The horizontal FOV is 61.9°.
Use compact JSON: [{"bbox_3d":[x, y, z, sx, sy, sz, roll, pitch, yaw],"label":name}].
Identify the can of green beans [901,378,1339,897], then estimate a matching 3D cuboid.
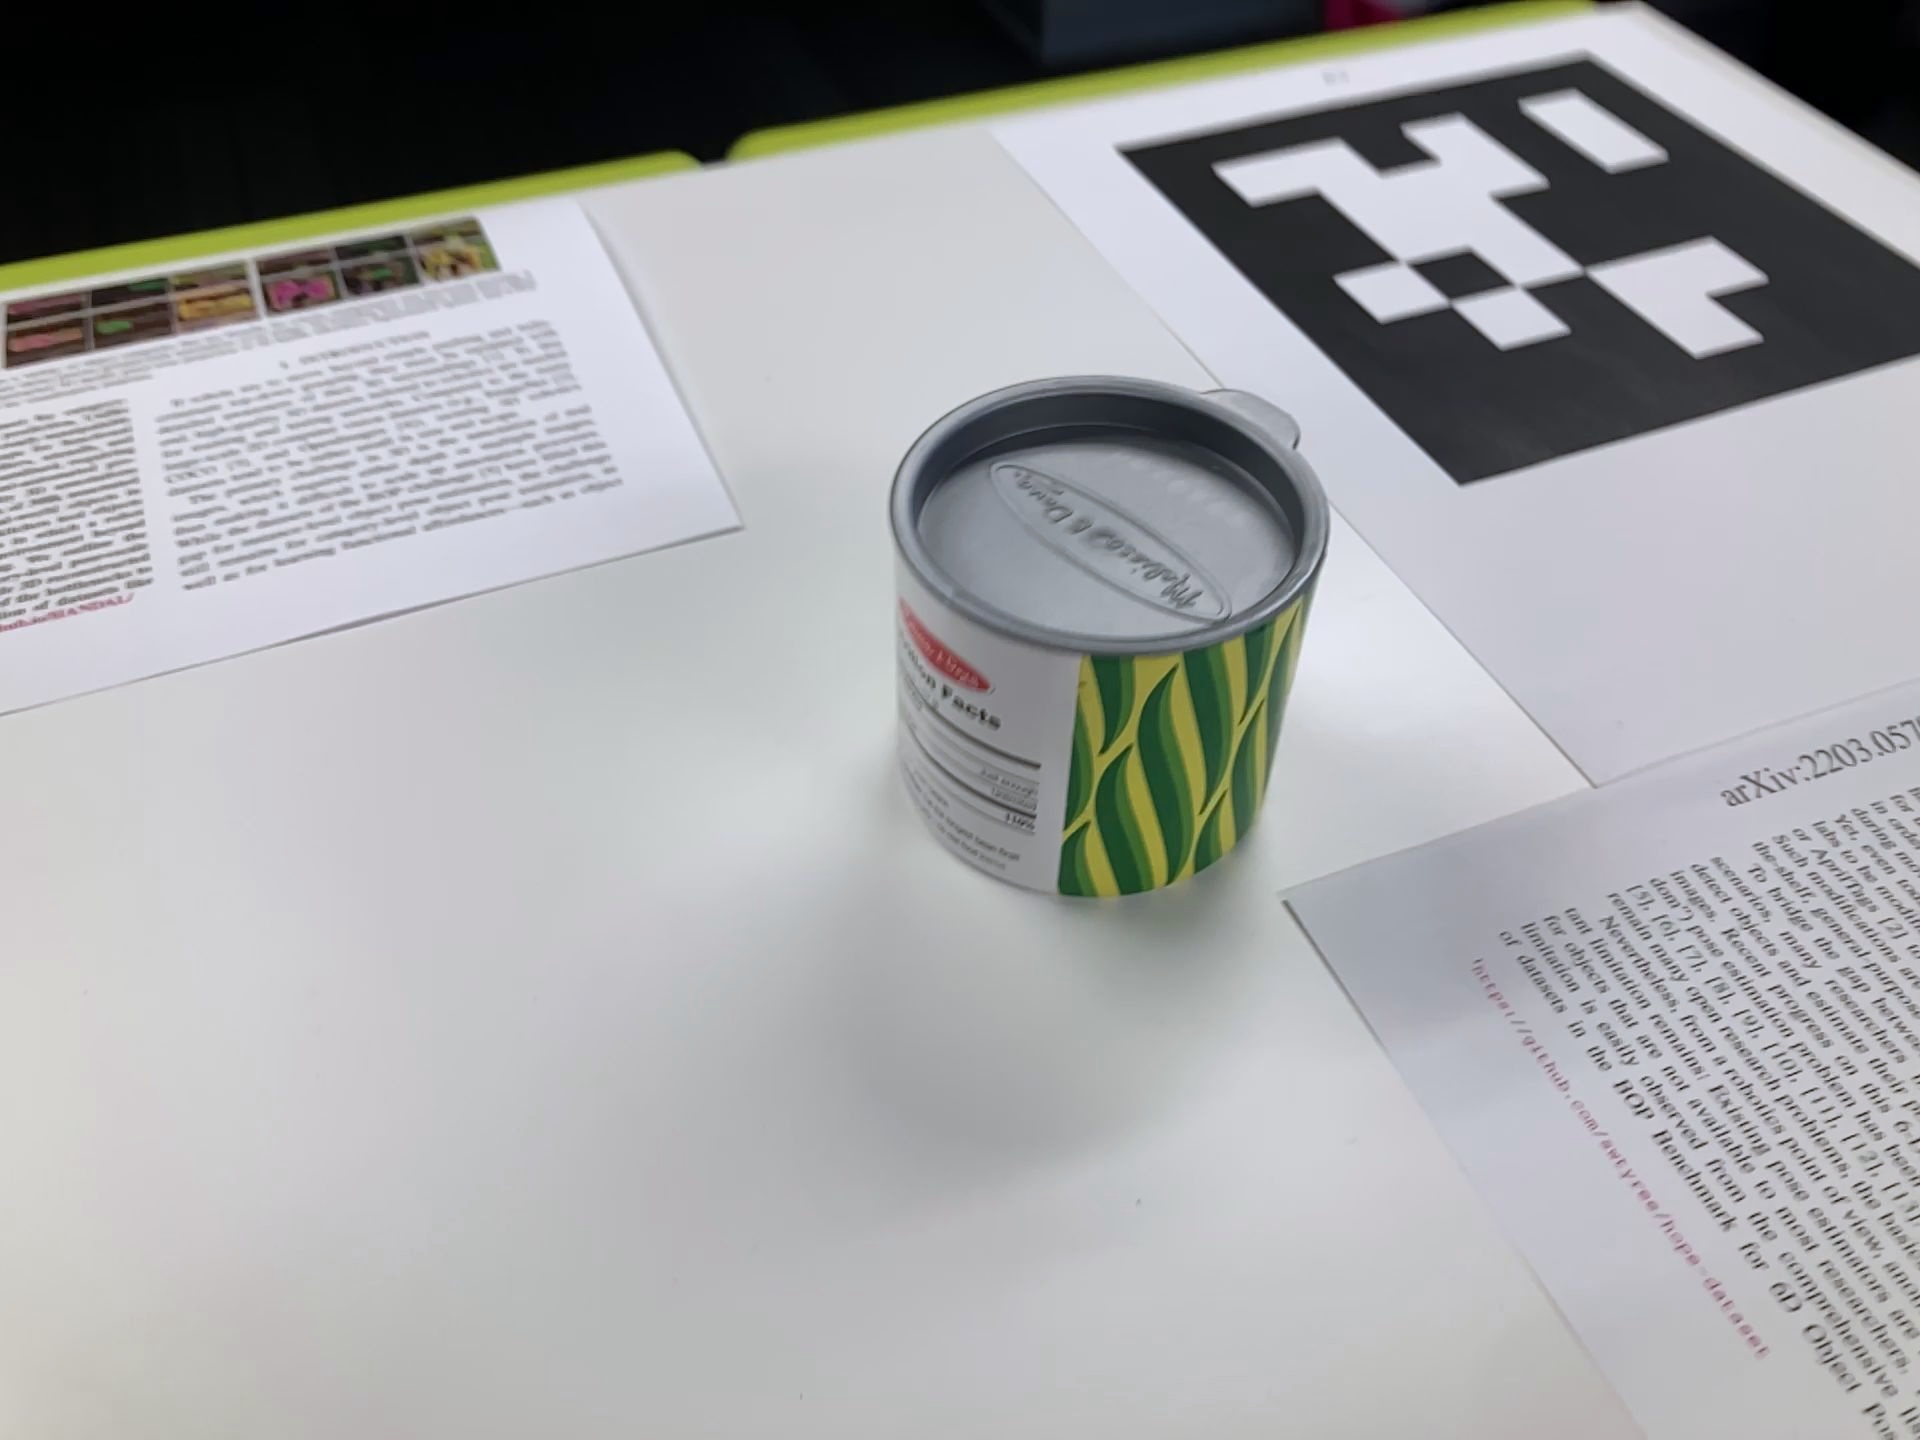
[{"bbox_3d":[0.024,-0.013,0.264,0.071,0.058,0.071,1,47,-1],"label":"can of green beans"}]
